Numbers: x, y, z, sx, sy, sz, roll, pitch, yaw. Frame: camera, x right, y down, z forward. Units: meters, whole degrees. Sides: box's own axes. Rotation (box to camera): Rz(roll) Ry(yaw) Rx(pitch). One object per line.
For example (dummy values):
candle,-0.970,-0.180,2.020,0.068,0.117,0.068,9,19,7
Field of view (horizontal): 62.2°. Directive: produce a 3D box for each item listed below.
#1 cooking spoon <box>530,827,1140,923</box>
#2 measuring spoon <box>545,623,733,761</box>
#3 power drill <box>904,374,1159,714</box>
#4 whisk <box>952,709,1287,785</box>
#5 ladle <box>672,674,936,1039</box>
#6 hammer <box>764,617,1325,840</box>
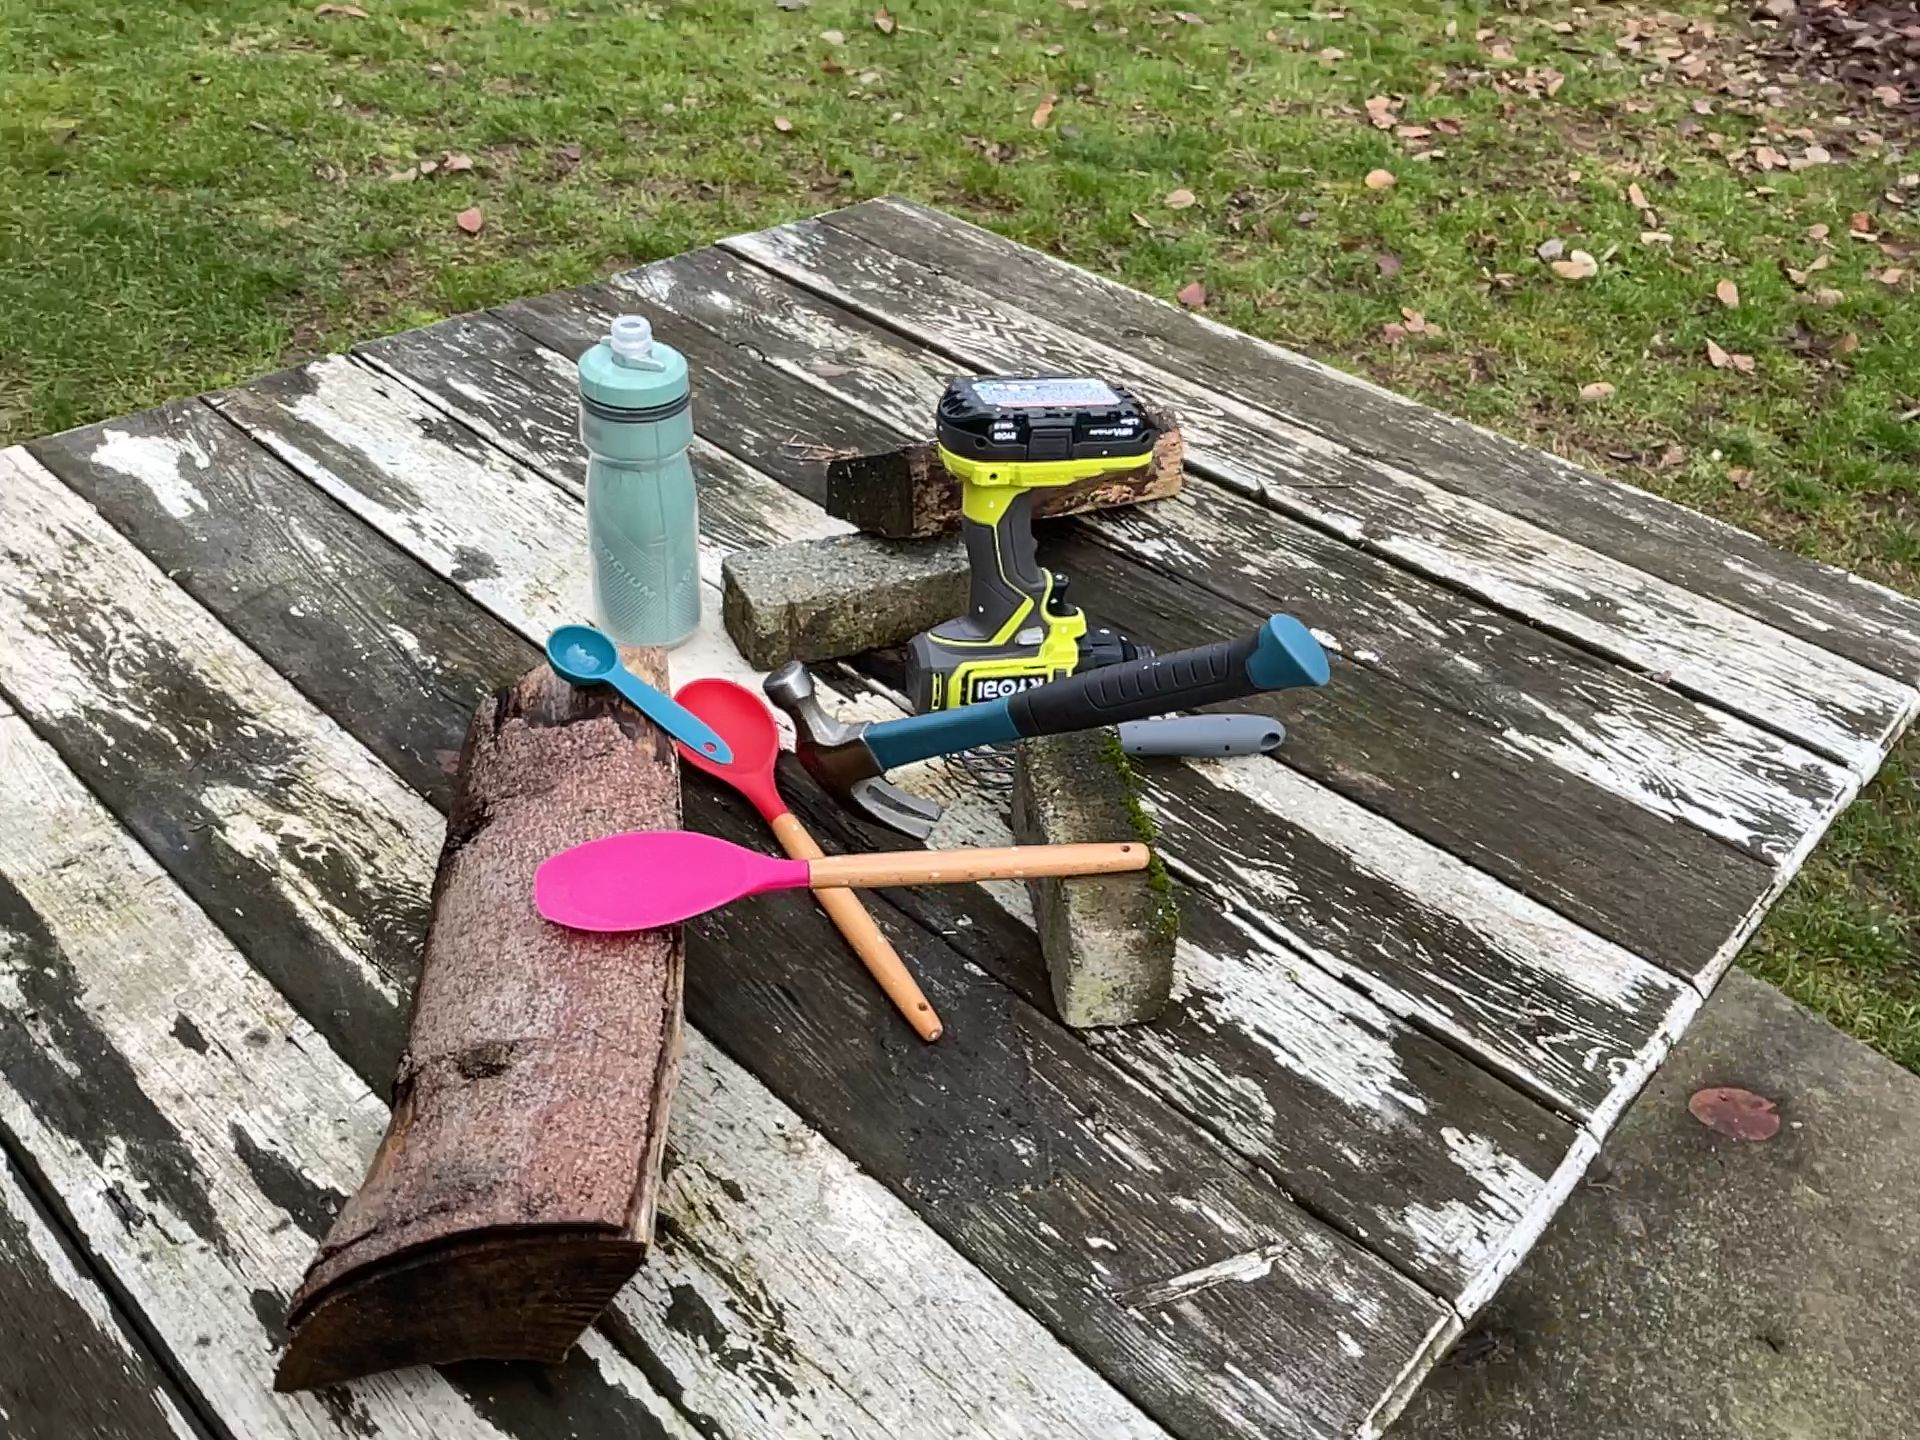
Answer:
cooking spoon,-0.057,0.079,0.824,0.318,0.017,0.069,-1,37,-15
measuring spoon,-0.188,-0.010,0.930,0.128,0.021,0.042,35,42,3
power drill,0.055,-0.108,1.052,0.171,0.223,0.080,-4,31,-14
whisk,0.106,0.010,1.039,0.238,0.055,0.055,-4,46,-16
ladle,-0.095,0.075,0.957,0.069,0.031,0.316,-15,44,-28
hammer,0.045,-0.005,0.915,0.331,0.128,0.033,-13,30,32
